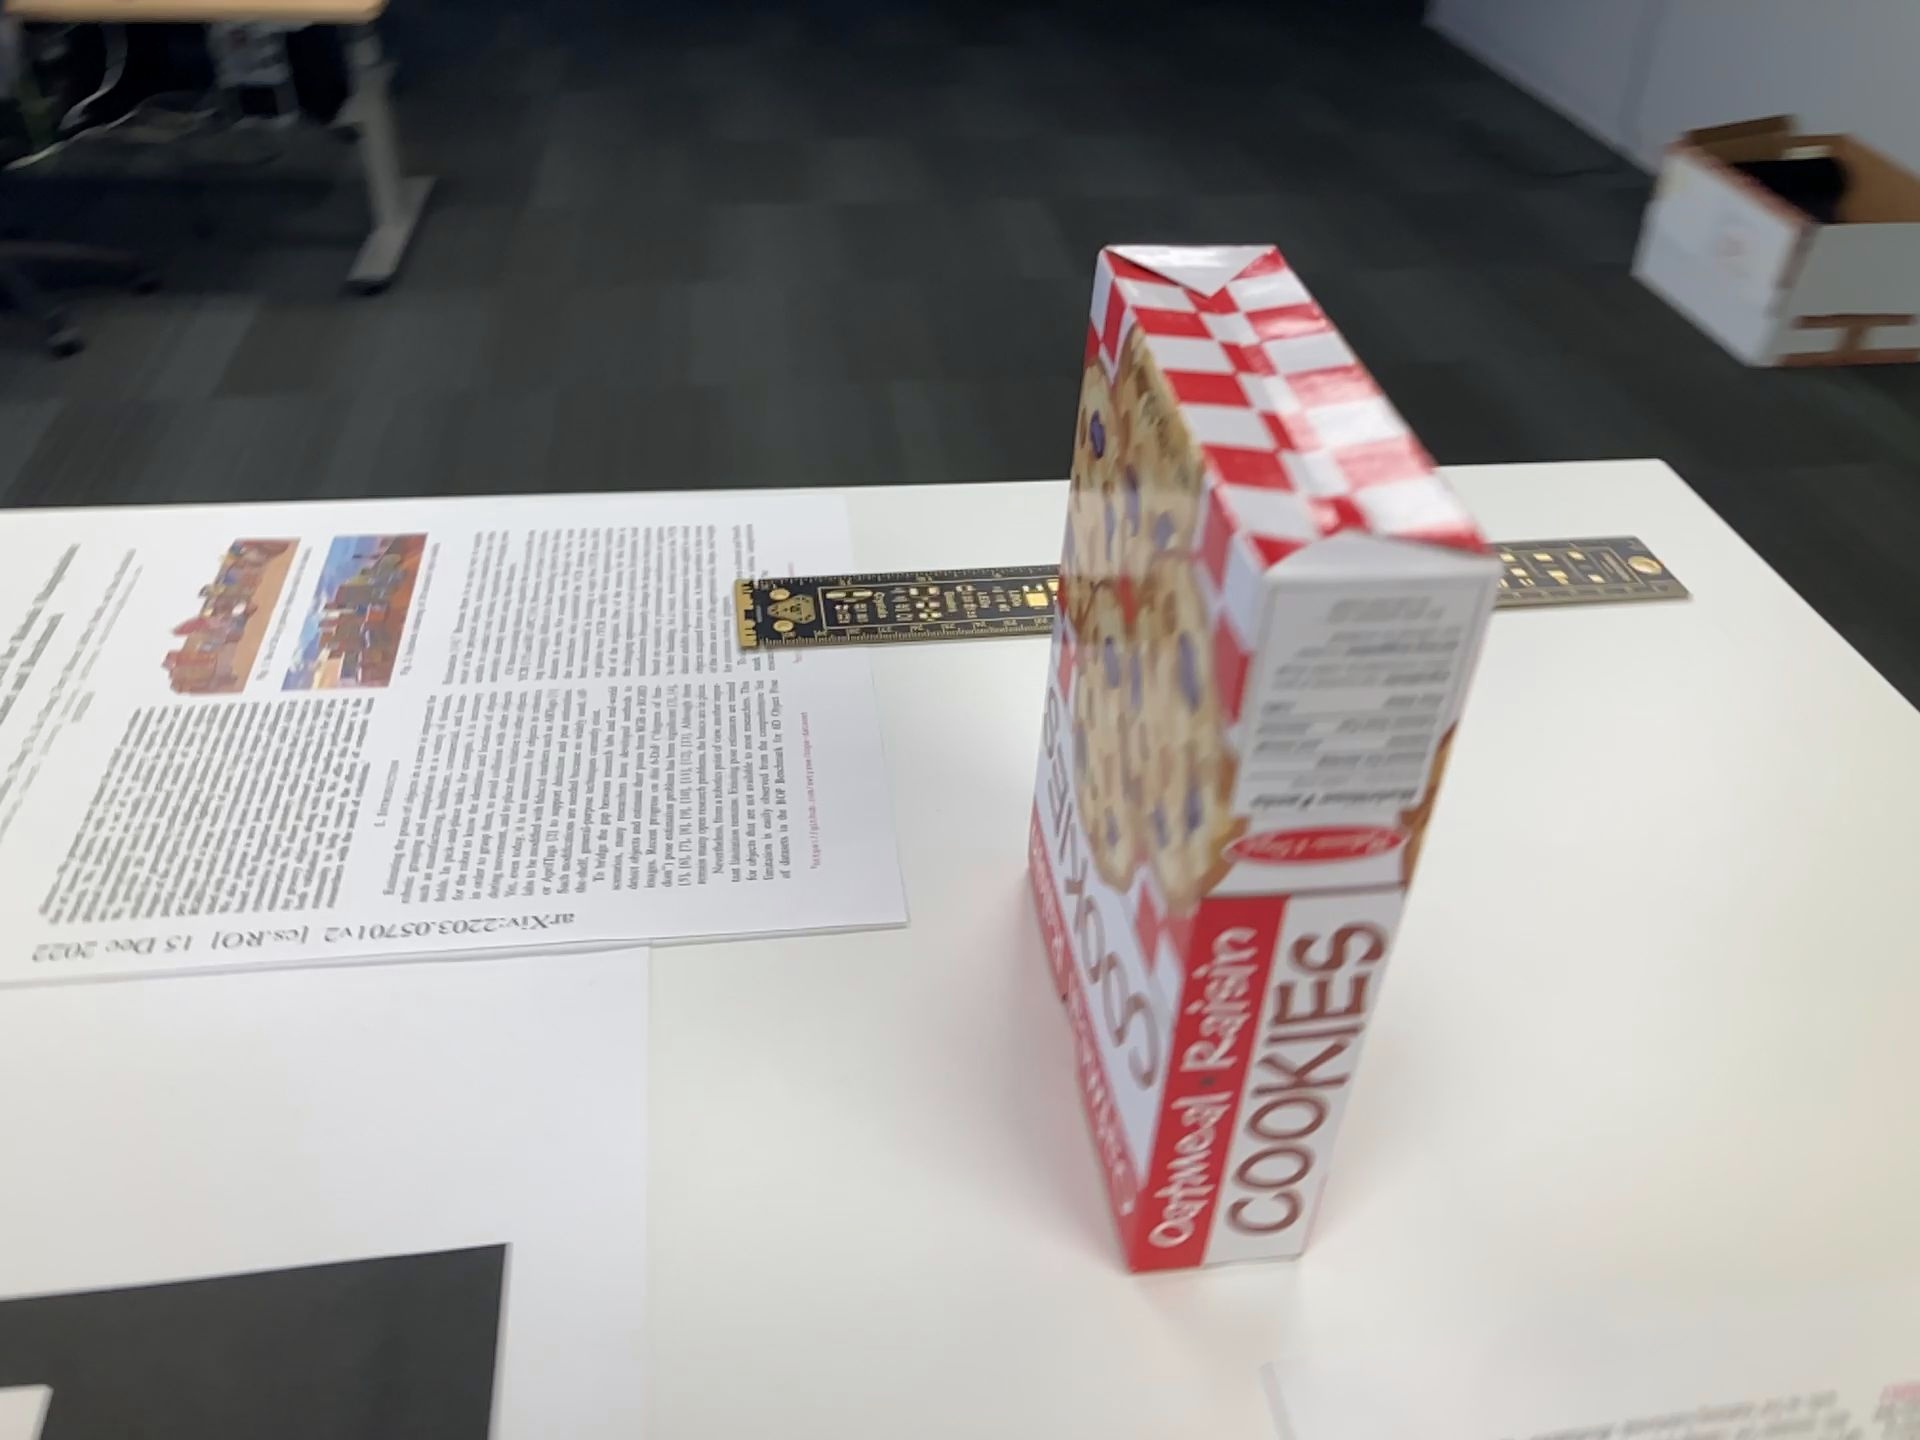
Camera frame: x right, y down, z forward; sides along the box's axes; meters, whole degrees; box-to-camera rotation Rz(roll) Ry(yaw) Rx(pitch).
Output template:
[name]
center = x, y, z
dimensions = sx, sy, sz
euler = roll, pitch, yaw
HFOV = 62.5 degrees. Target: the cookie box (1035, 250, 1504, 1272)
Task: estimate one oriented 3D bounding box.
[cookie box]
center = 0.048, 0.009, 0.321
dimensions = 0.040, 0.167, 0.123
euler = -2, 38, -7
